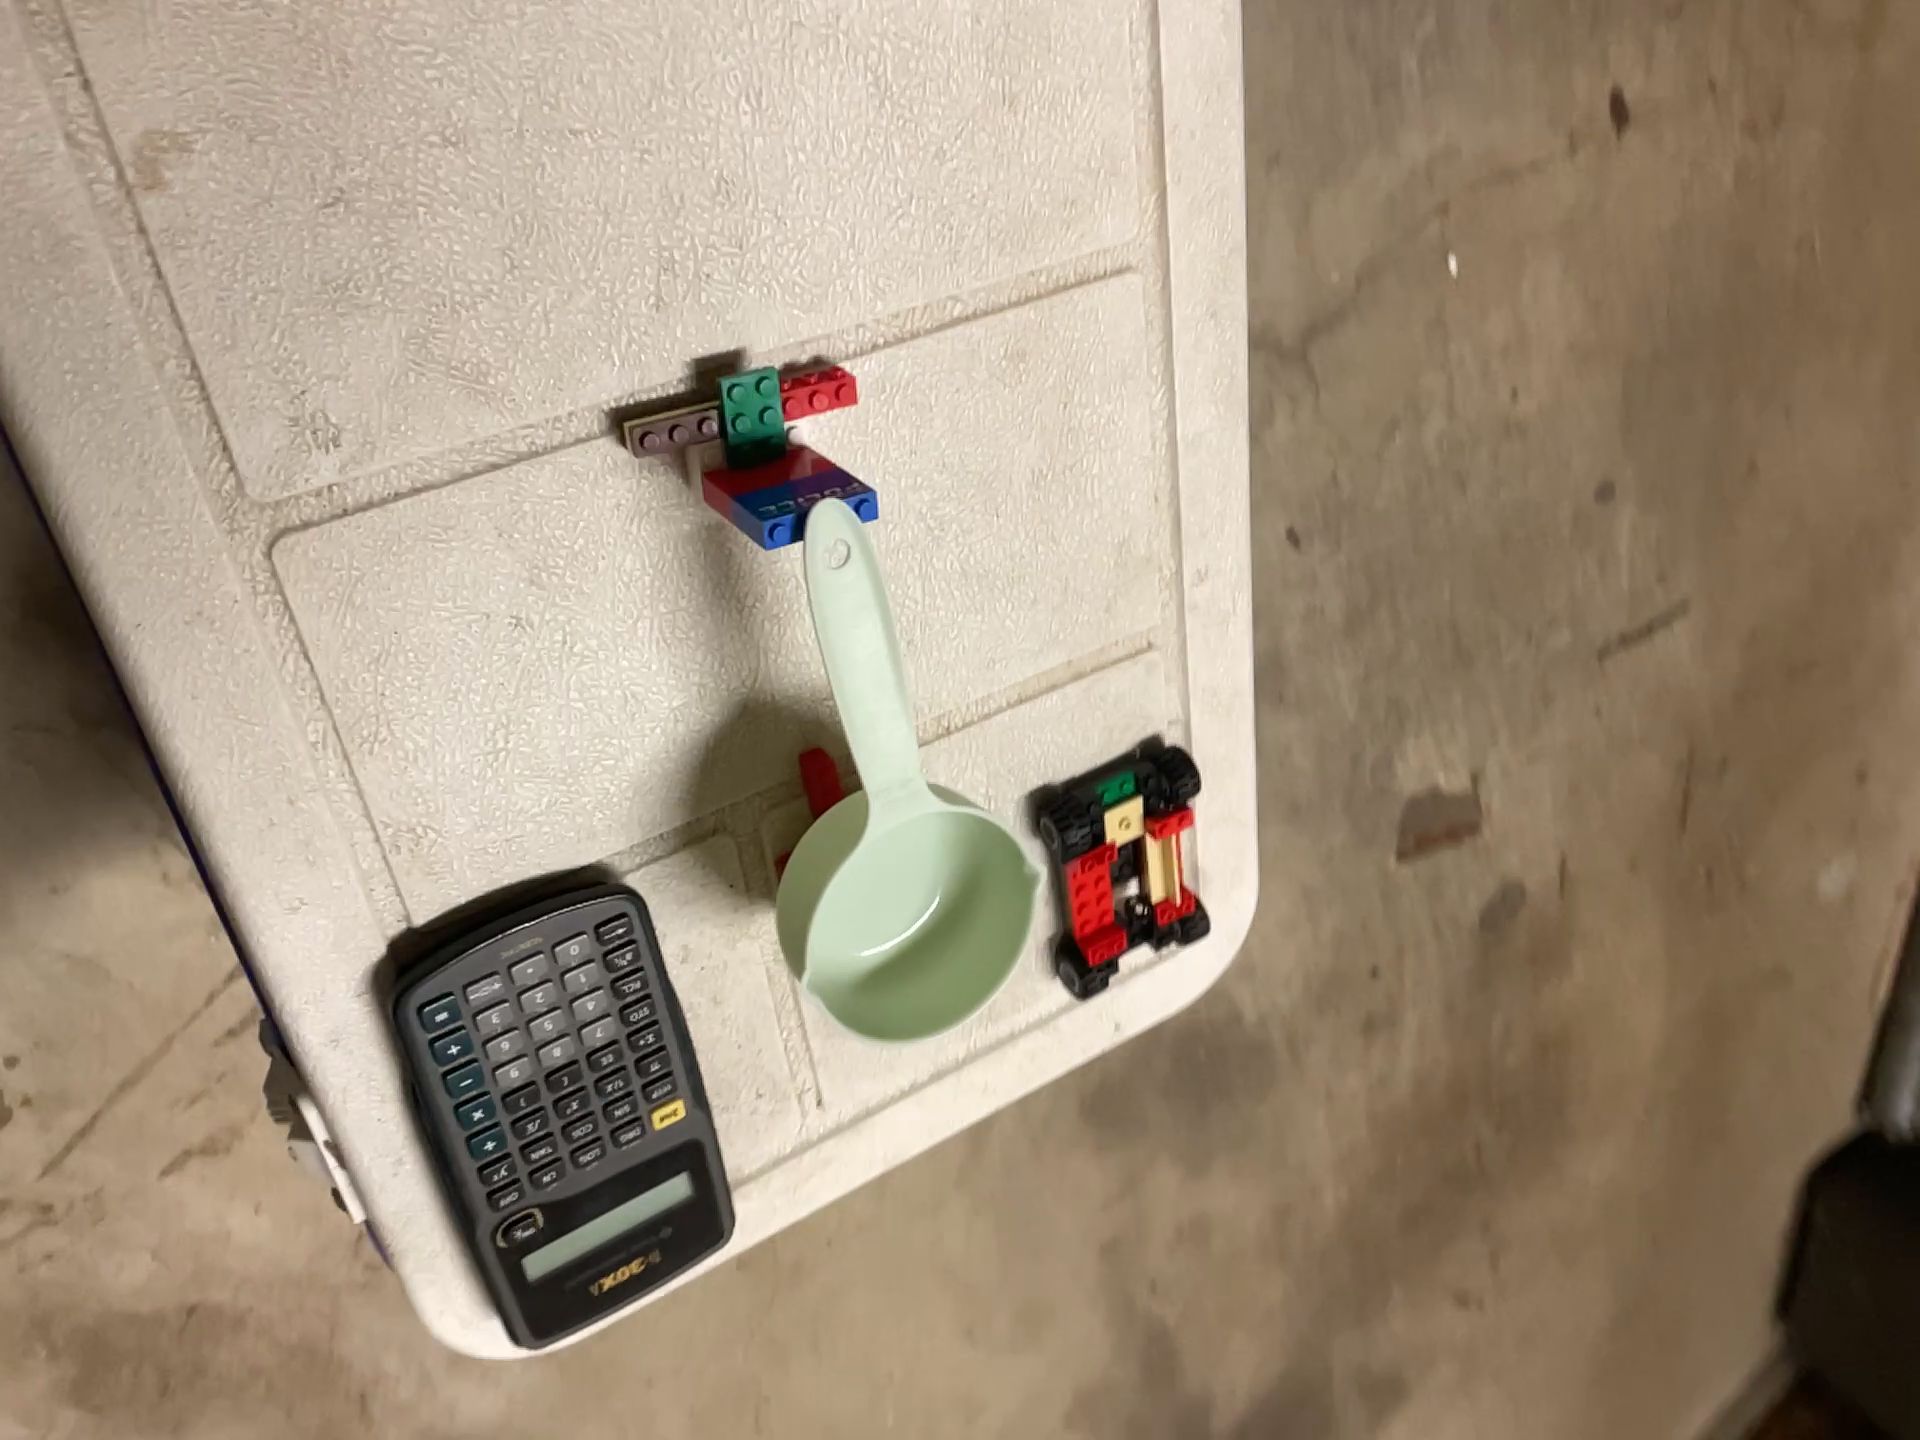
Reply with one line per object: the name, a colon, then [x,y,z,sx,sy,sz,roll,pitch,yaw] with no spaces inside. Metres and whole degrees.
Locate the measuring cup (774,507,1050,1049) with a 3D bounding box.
measuring cup: [-0.027,0.015,0.448,0.083,0.038,0.167,-24,120,-21]
